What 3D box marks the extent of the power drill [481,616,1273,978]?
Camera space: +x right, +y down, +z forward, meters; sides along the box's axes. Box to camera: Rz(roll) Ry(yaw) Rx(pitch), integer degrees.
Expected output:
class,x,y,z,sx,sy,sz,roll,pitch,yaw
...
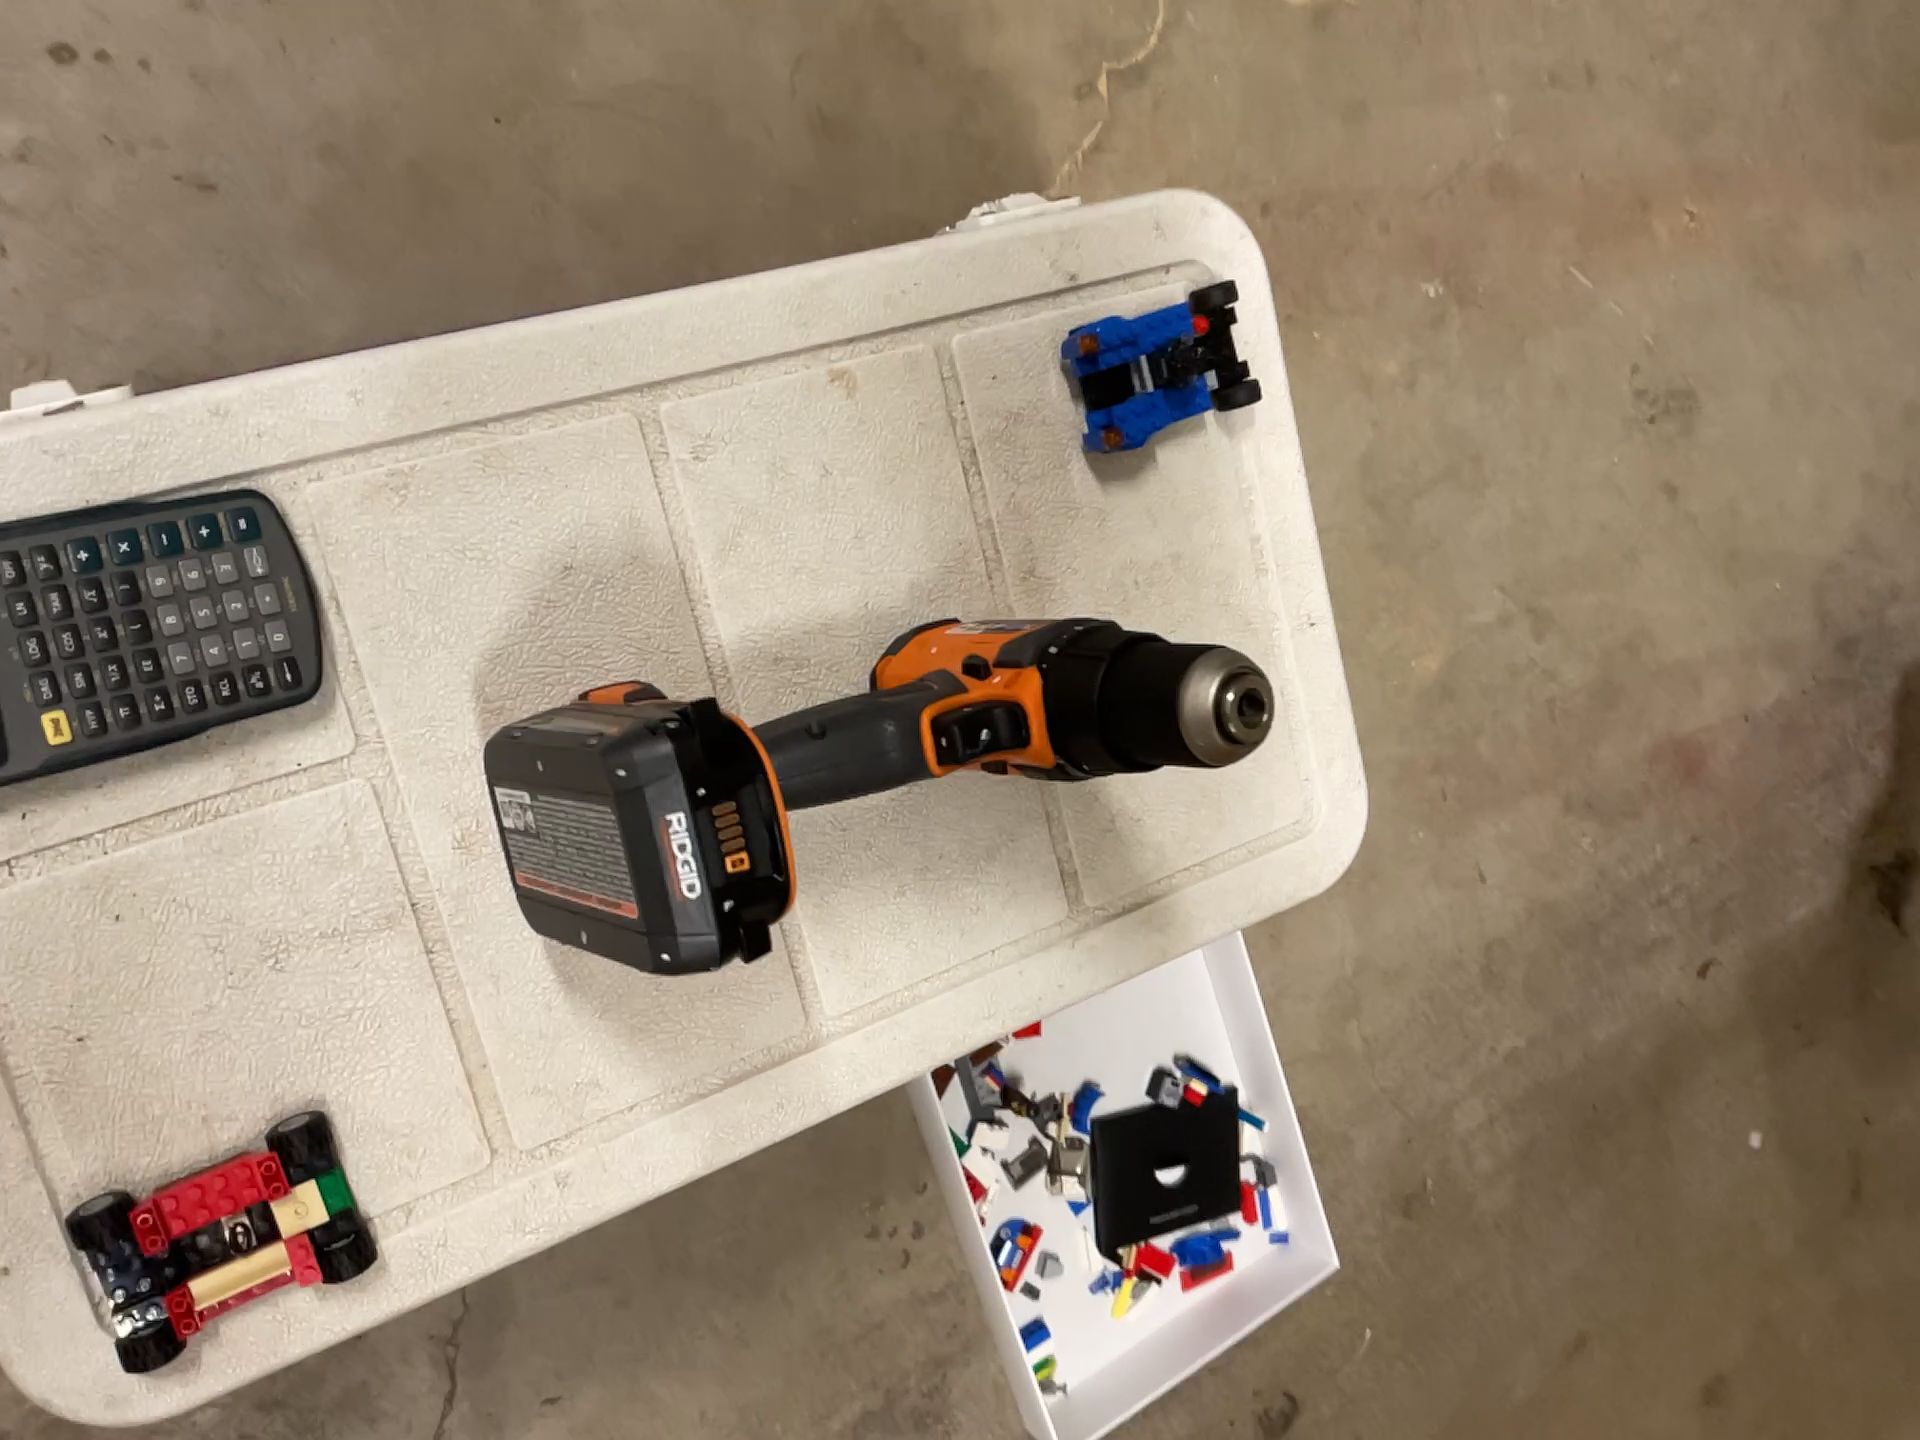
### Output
class,x,y,z,sx,sy,sz,roll,pitch,yaw
power drill,-0.023,0.013,0.545,0.226,0.185,0.084,-18,104,-35
